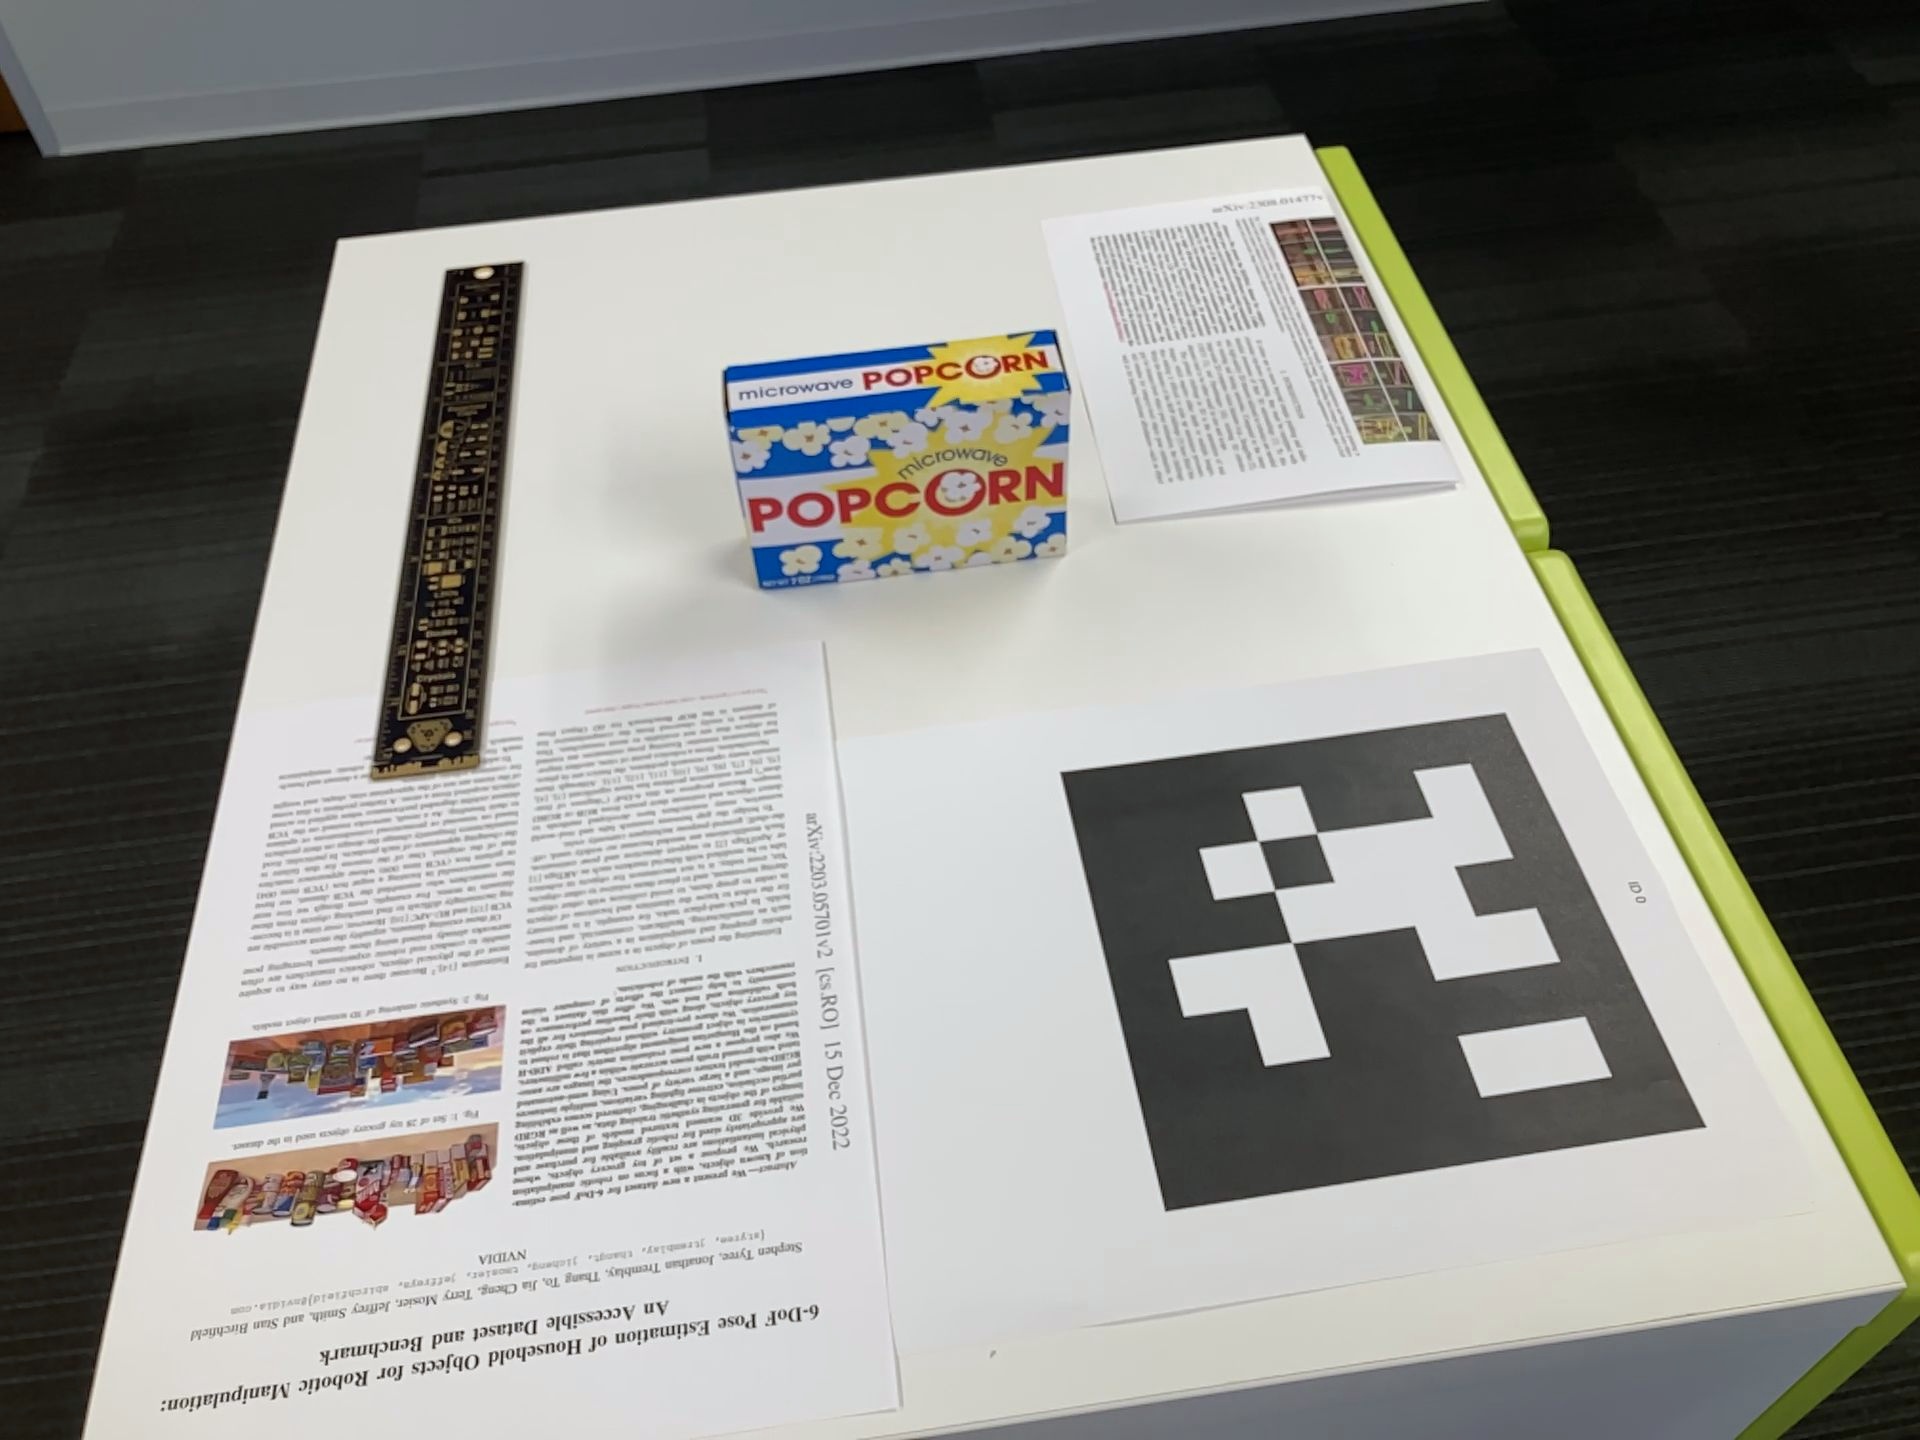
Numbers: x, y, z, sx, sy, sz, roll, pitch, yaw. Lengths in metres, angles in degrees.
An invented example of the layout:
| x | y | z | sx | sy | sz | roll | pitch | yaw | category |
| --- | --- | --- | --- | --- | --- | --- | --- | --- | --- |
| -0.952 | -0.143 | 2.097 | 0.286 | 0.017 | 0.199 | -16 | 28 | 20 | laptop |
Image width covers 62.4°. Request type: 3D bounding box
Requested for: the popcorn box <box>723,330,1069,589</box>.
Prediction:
| x | y | z | sx | sy | sz | roll | pitch | yaw | category |
| --- | --- | --- | --- | --- | --- | --- | --- | --- | --- |
| -0.022 | -0.099 | 0.612 | 0.126 | 0.085 | 0.038 | -7 | 50 | -3 | popcorn box |
